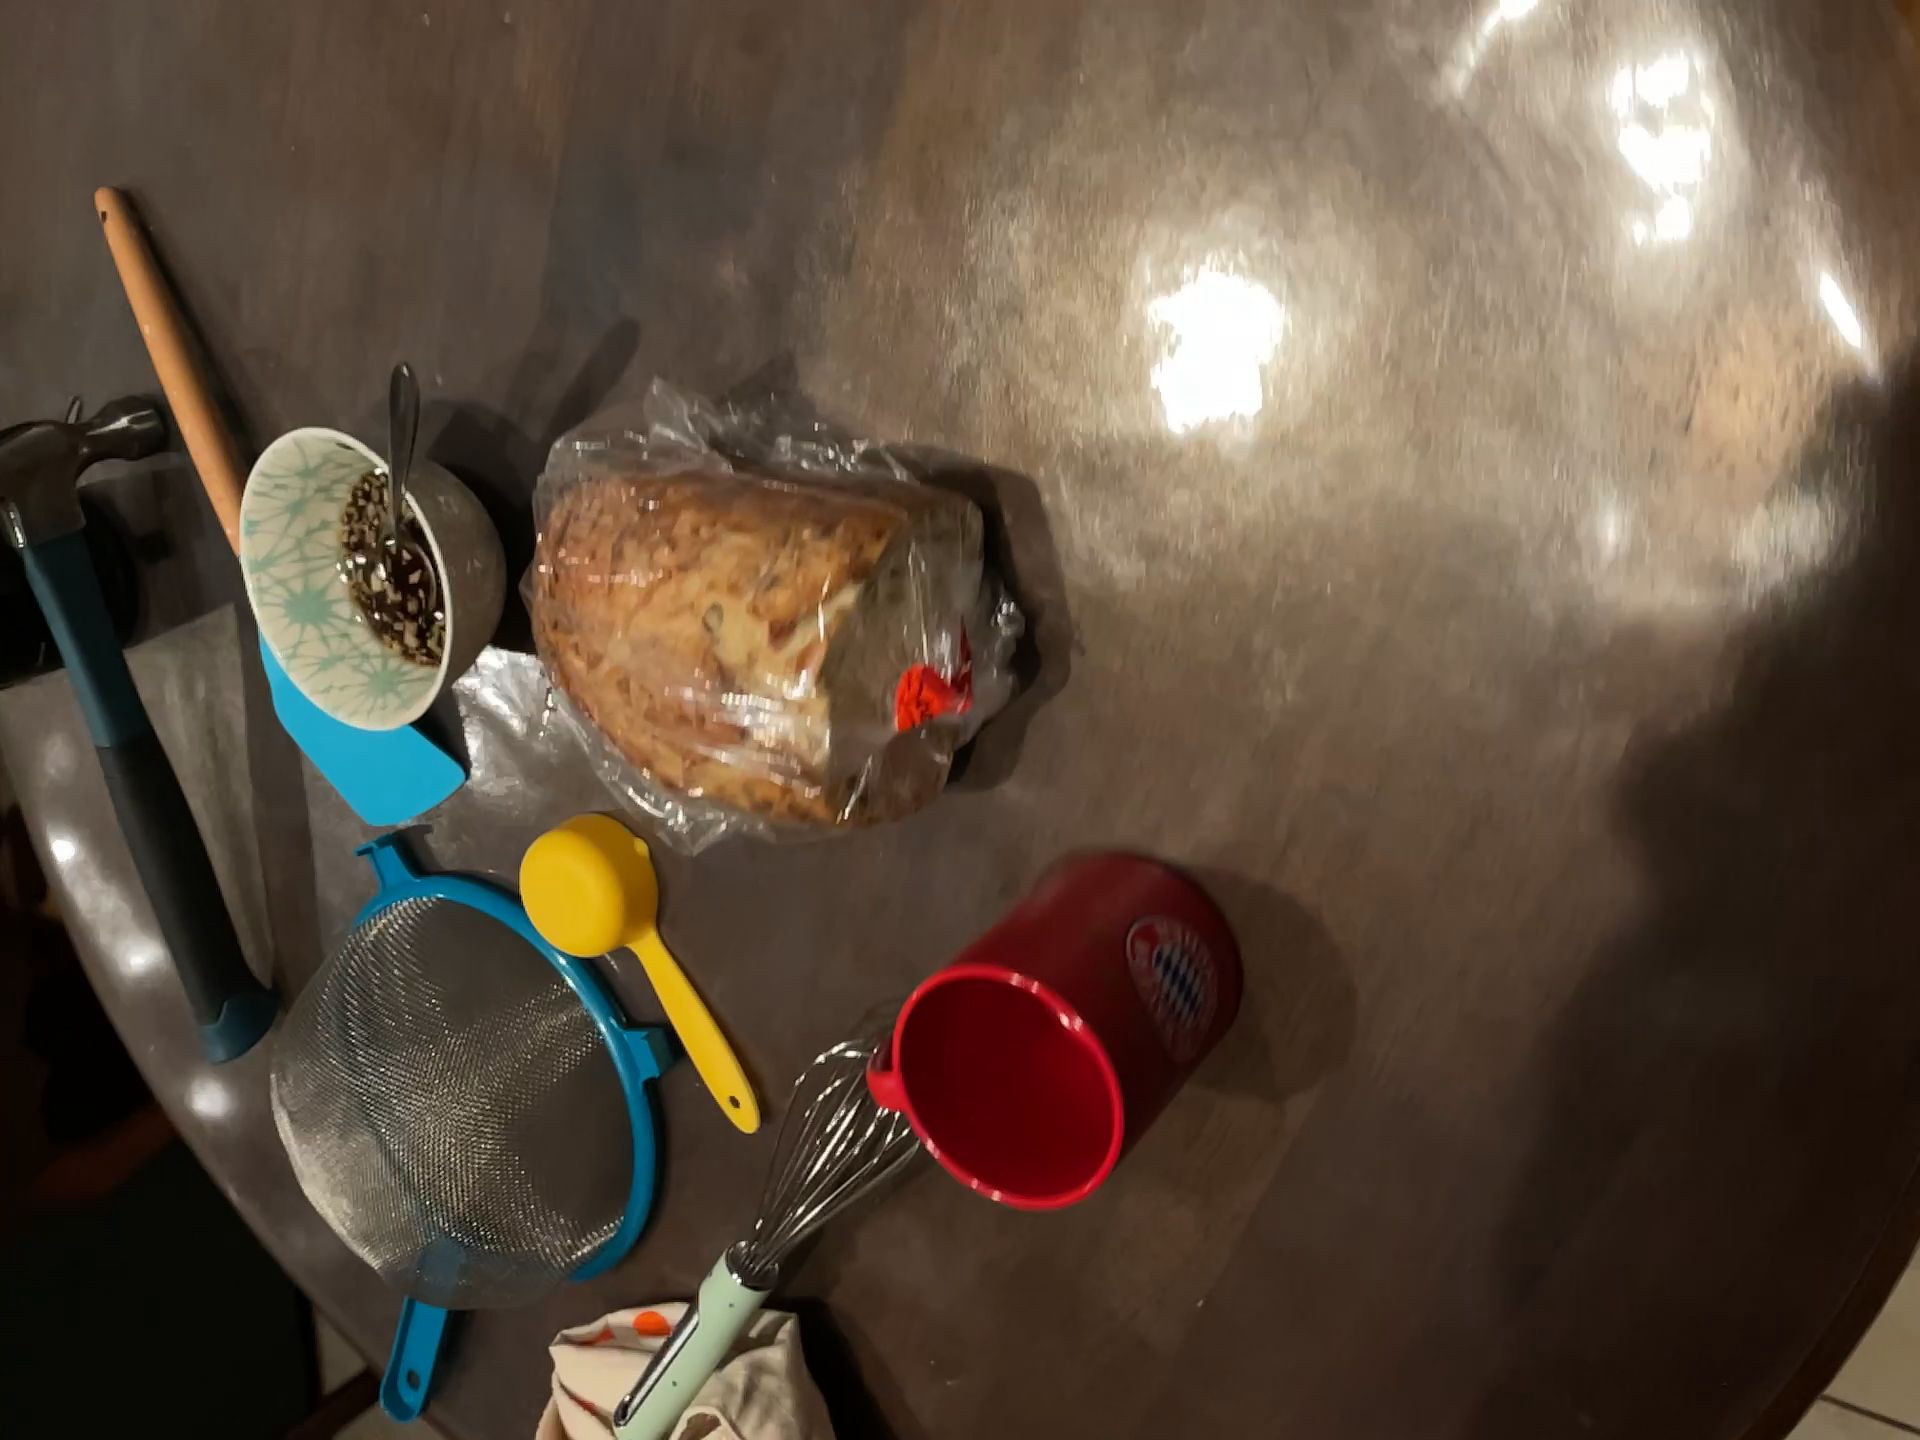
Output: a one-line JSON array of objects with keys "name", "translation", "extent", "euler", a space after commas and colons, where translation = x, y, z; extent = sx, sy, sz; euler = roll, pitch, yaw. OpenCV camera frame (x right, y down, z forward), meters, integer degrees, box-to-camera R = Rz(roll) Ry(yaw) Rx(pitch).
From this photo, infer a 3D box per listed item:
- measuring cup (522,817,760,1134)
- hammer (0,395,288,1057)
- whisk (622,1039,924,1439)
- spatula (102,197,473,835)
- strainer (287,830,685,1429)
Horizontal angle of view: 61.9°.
[{"name": "measuring cup", "translation": [-0.135, 0.114, 0.682], "extent": [0.062, 0.029, 0.156], "euler": [-37, 83, 36]}, {"name": "hammer", "translation": [-0.402, 0.018, 0.789], "extent": [0.033, 0.128, 0.330], "euler": [6, 117, 34]}, {"name": "whisk", "translation": [-0.081, 0.219, 0.654], "extent": [0.059, 0.058, 0.246], "euler": [27, 113, -12]}, {"name": "spatula", "translation": [-0.322, -0.095, 0.740], "extent": [0.082, 0.044, 0.317], "euler": [-25, 87, 37]}, {"name": "strainer", "translation": [-0.265, 0.238, 0.768], "extent": [0.211, 0.095, 0.340], "euler": [31, 116, 22]}]
